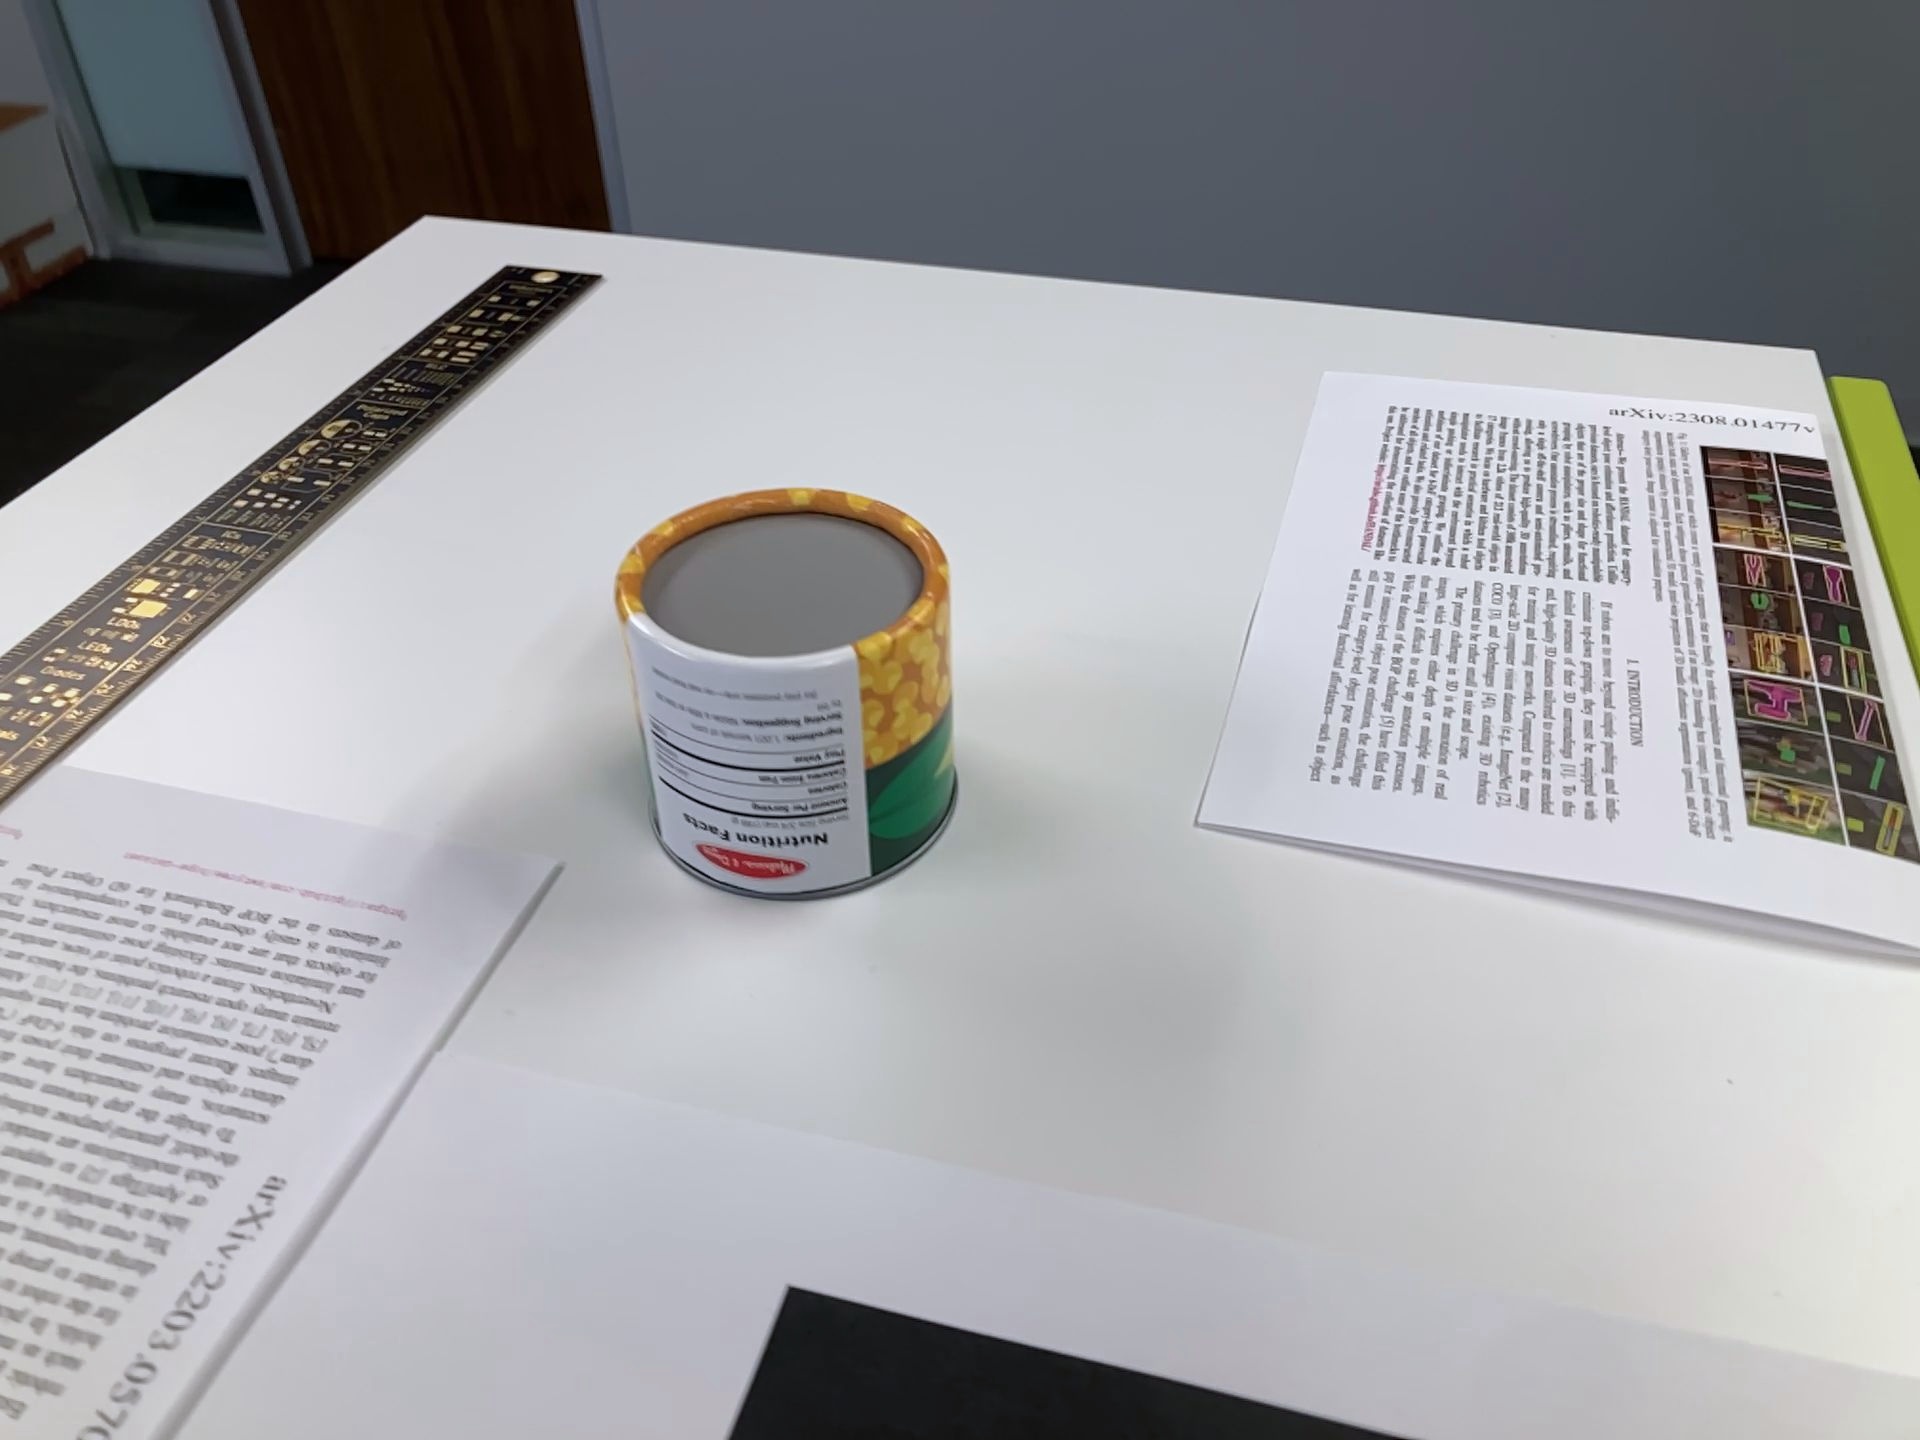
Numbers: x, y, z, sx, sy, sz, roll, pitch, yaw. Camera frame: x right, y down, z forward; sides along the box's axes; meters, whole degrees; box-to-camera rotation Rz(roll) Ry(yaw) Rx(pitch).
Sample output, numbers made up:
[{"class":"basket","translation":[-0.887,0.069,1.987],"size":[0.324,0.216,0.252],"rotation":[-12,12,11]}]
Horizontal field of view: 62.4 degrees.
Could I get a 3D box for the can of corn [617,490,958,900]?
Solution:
[{"class":"can of corn","translation":[-0.034,-0.008,0.330],"size":[0.071,0.058,0.071],"rotation":[-1,38,1]}]
